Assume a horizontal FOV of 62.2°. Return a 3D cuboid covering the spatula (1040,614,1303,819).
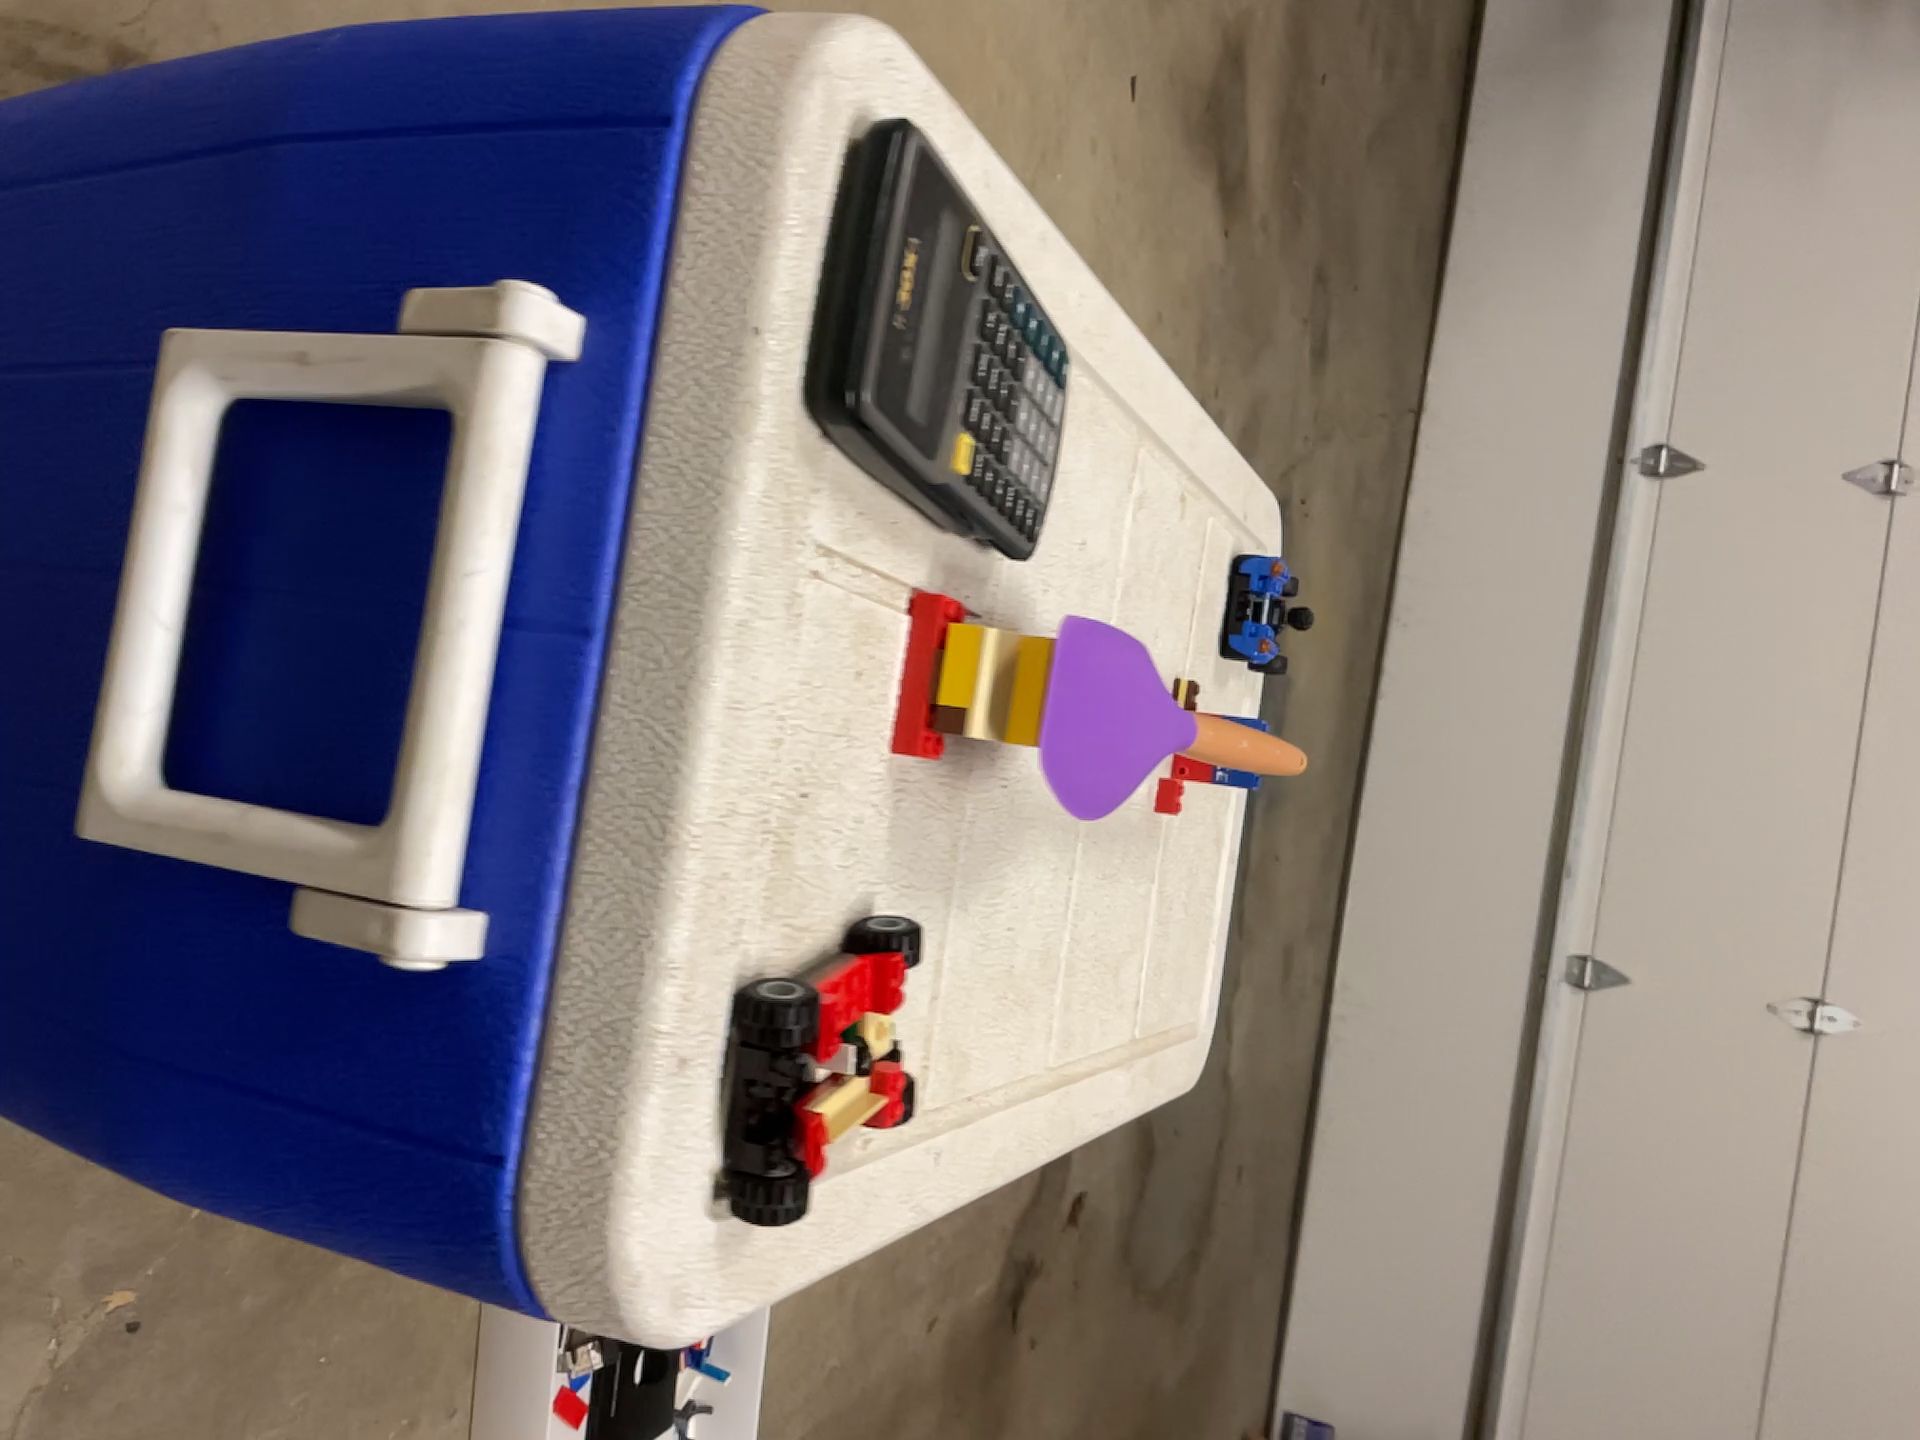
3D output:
[{"bbox_3d":[0.087,0.008,0.587,0.316,0.018,0.060,10,87,-66],"label":"spatula"}]
